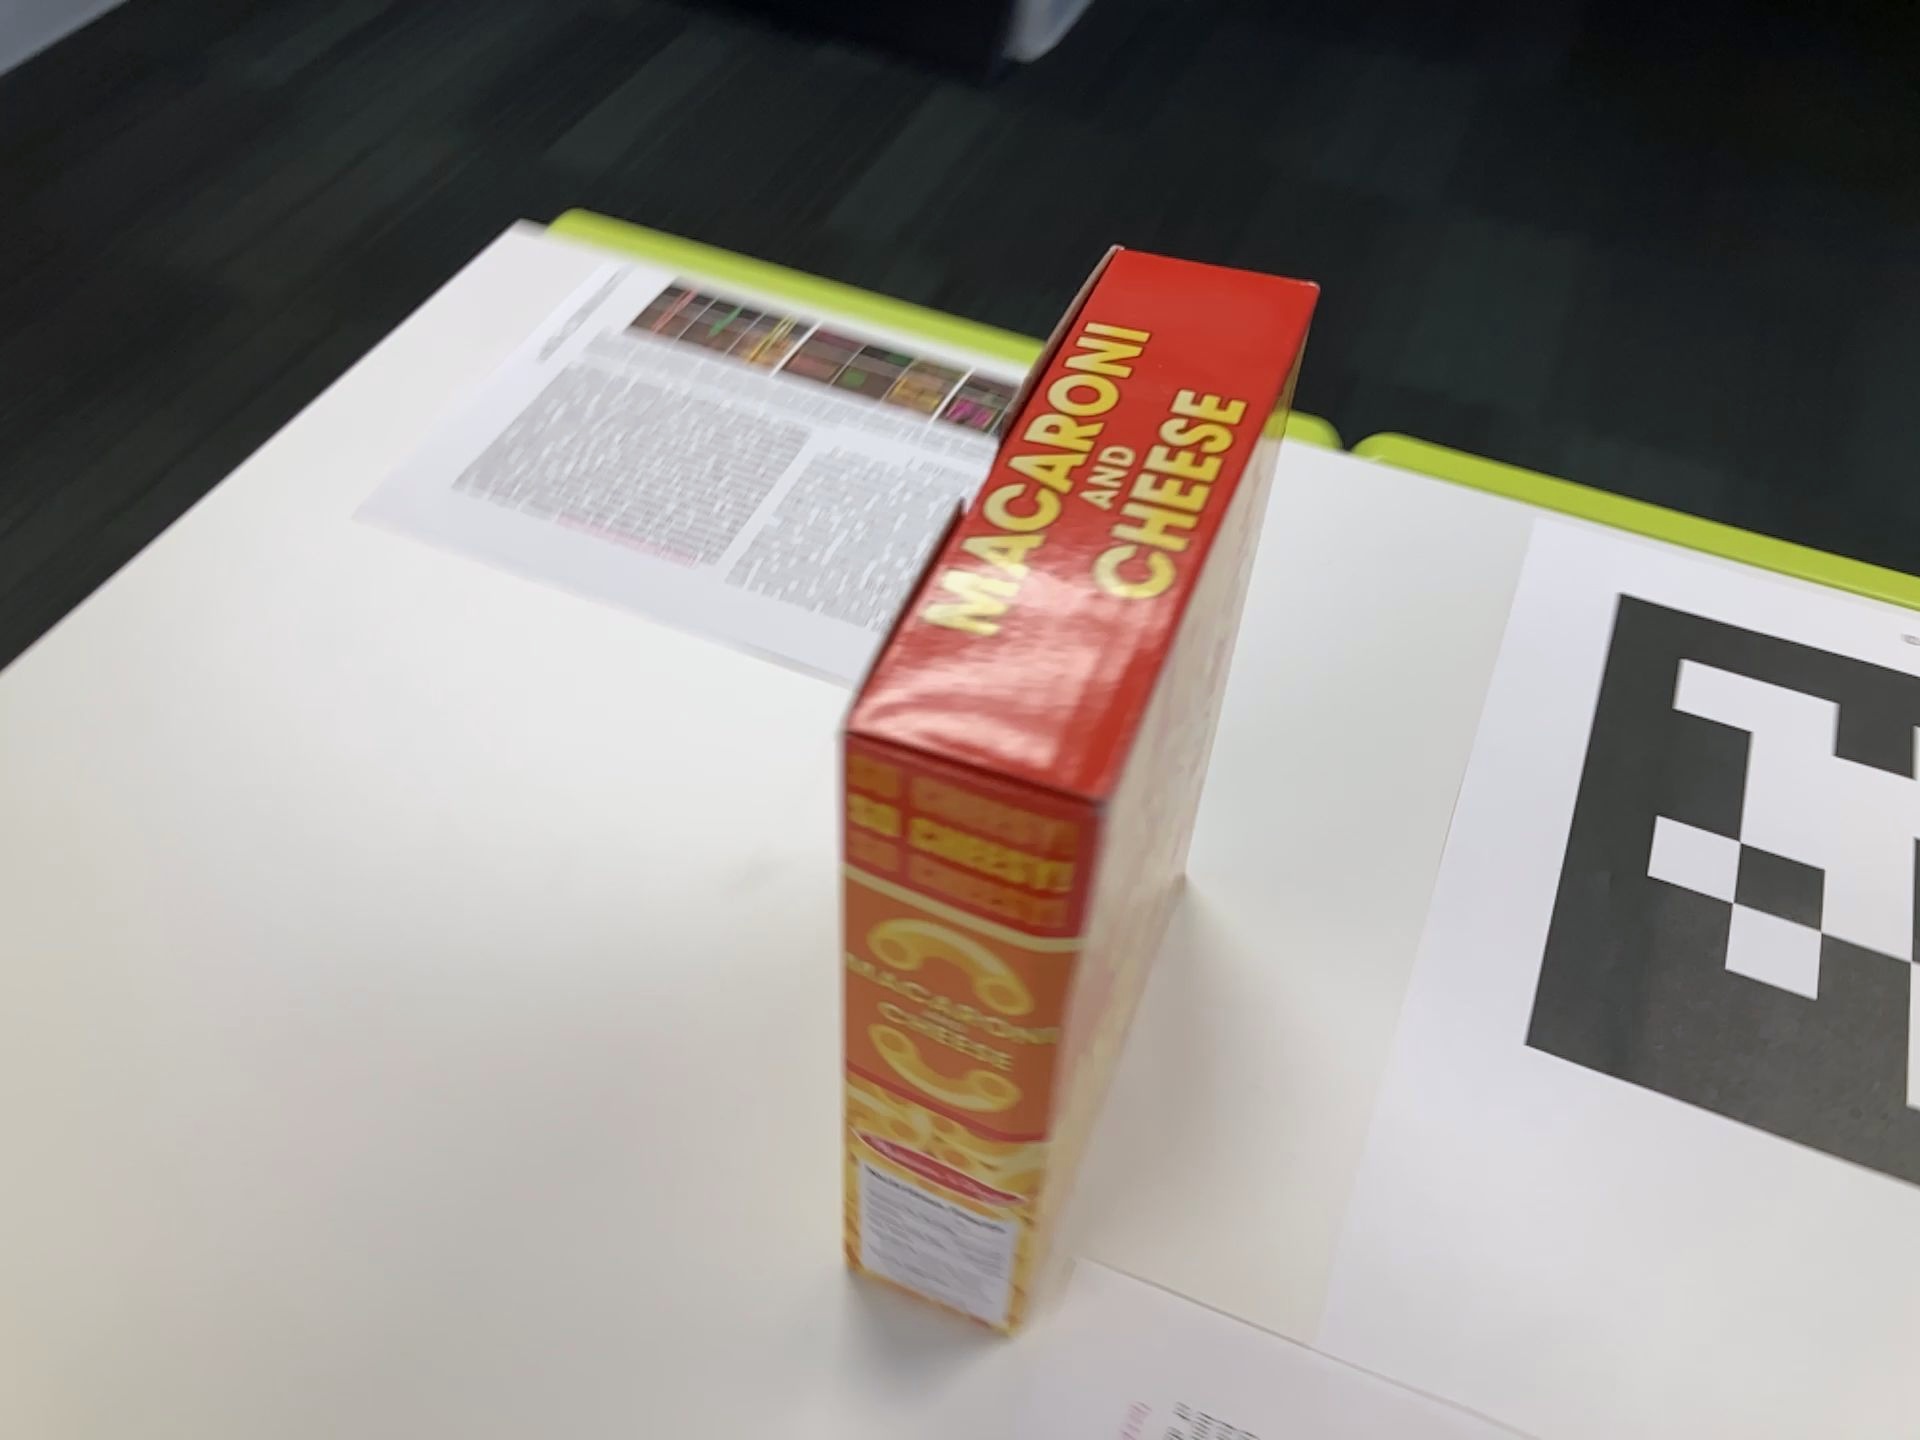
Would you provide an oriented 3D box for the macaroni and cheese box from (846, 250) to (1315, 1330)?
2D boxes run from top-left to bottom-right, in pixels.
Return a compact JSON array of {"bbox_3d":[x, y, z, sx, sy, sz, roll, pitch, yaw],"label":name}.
[{"bbox_3d":[0.019,0.019,0.294,0.040,0.166,0.124,16,50,12],"label":"macaroni and cheese box"}]
